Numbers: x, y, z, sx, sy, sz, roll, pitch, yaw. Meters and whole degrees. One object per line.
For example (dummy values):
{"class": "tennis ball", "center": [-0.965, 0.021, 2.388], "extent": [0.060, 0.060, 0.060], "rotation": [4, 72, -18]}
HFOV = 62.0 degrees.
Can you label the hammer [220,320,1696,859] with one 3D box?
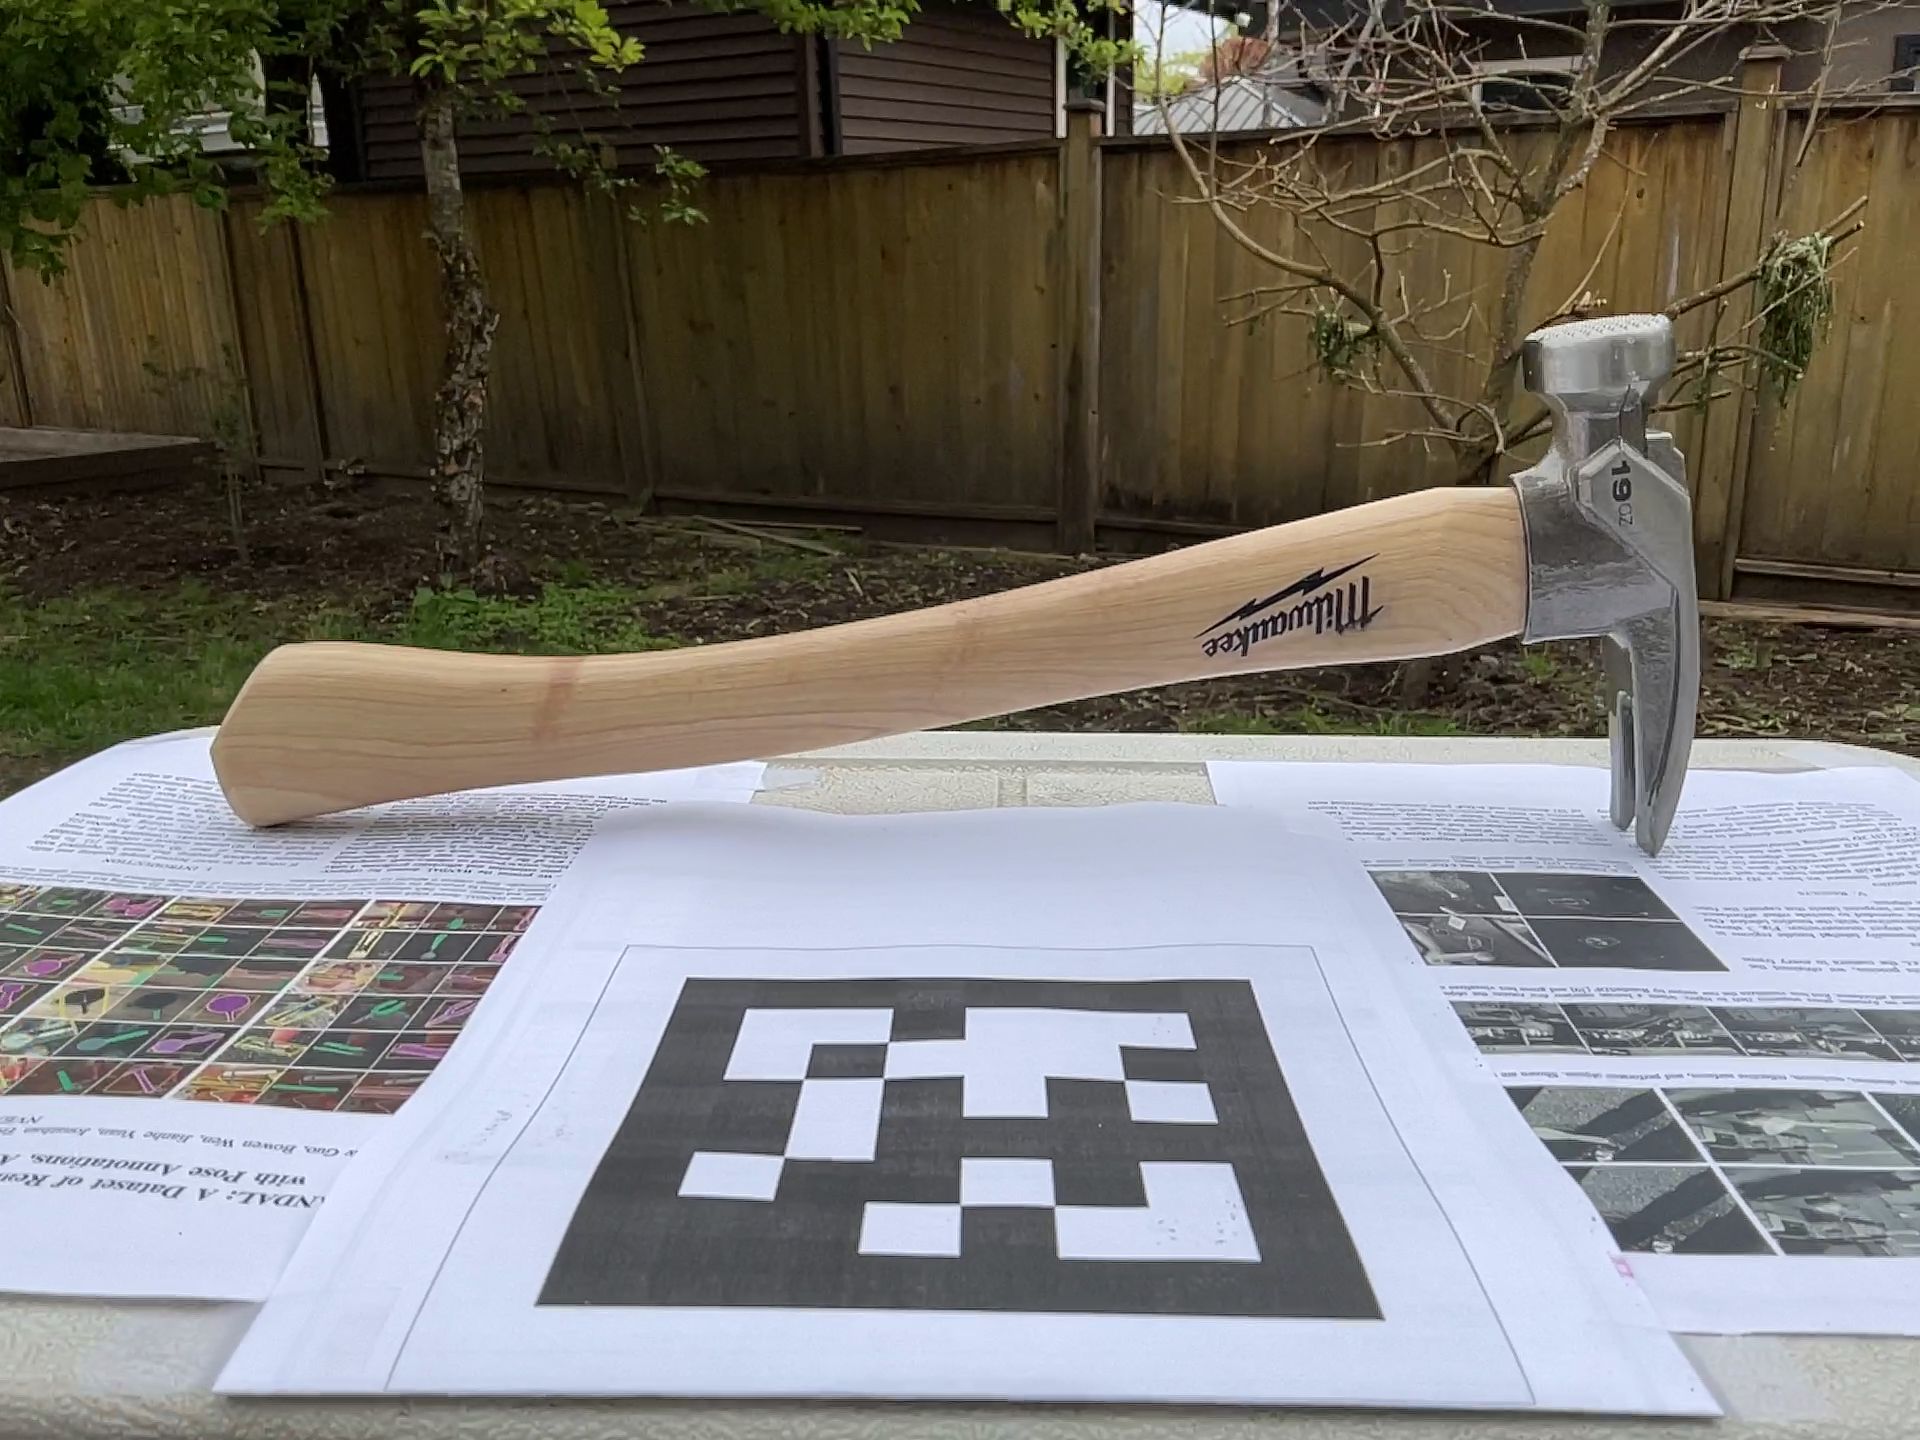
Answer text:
{"class": "hammer", "center": [-0.004, -0.006, 0.456], "extent": [0.410, 0.146, 0.038], "rotation": [-9, 15, 4]}
